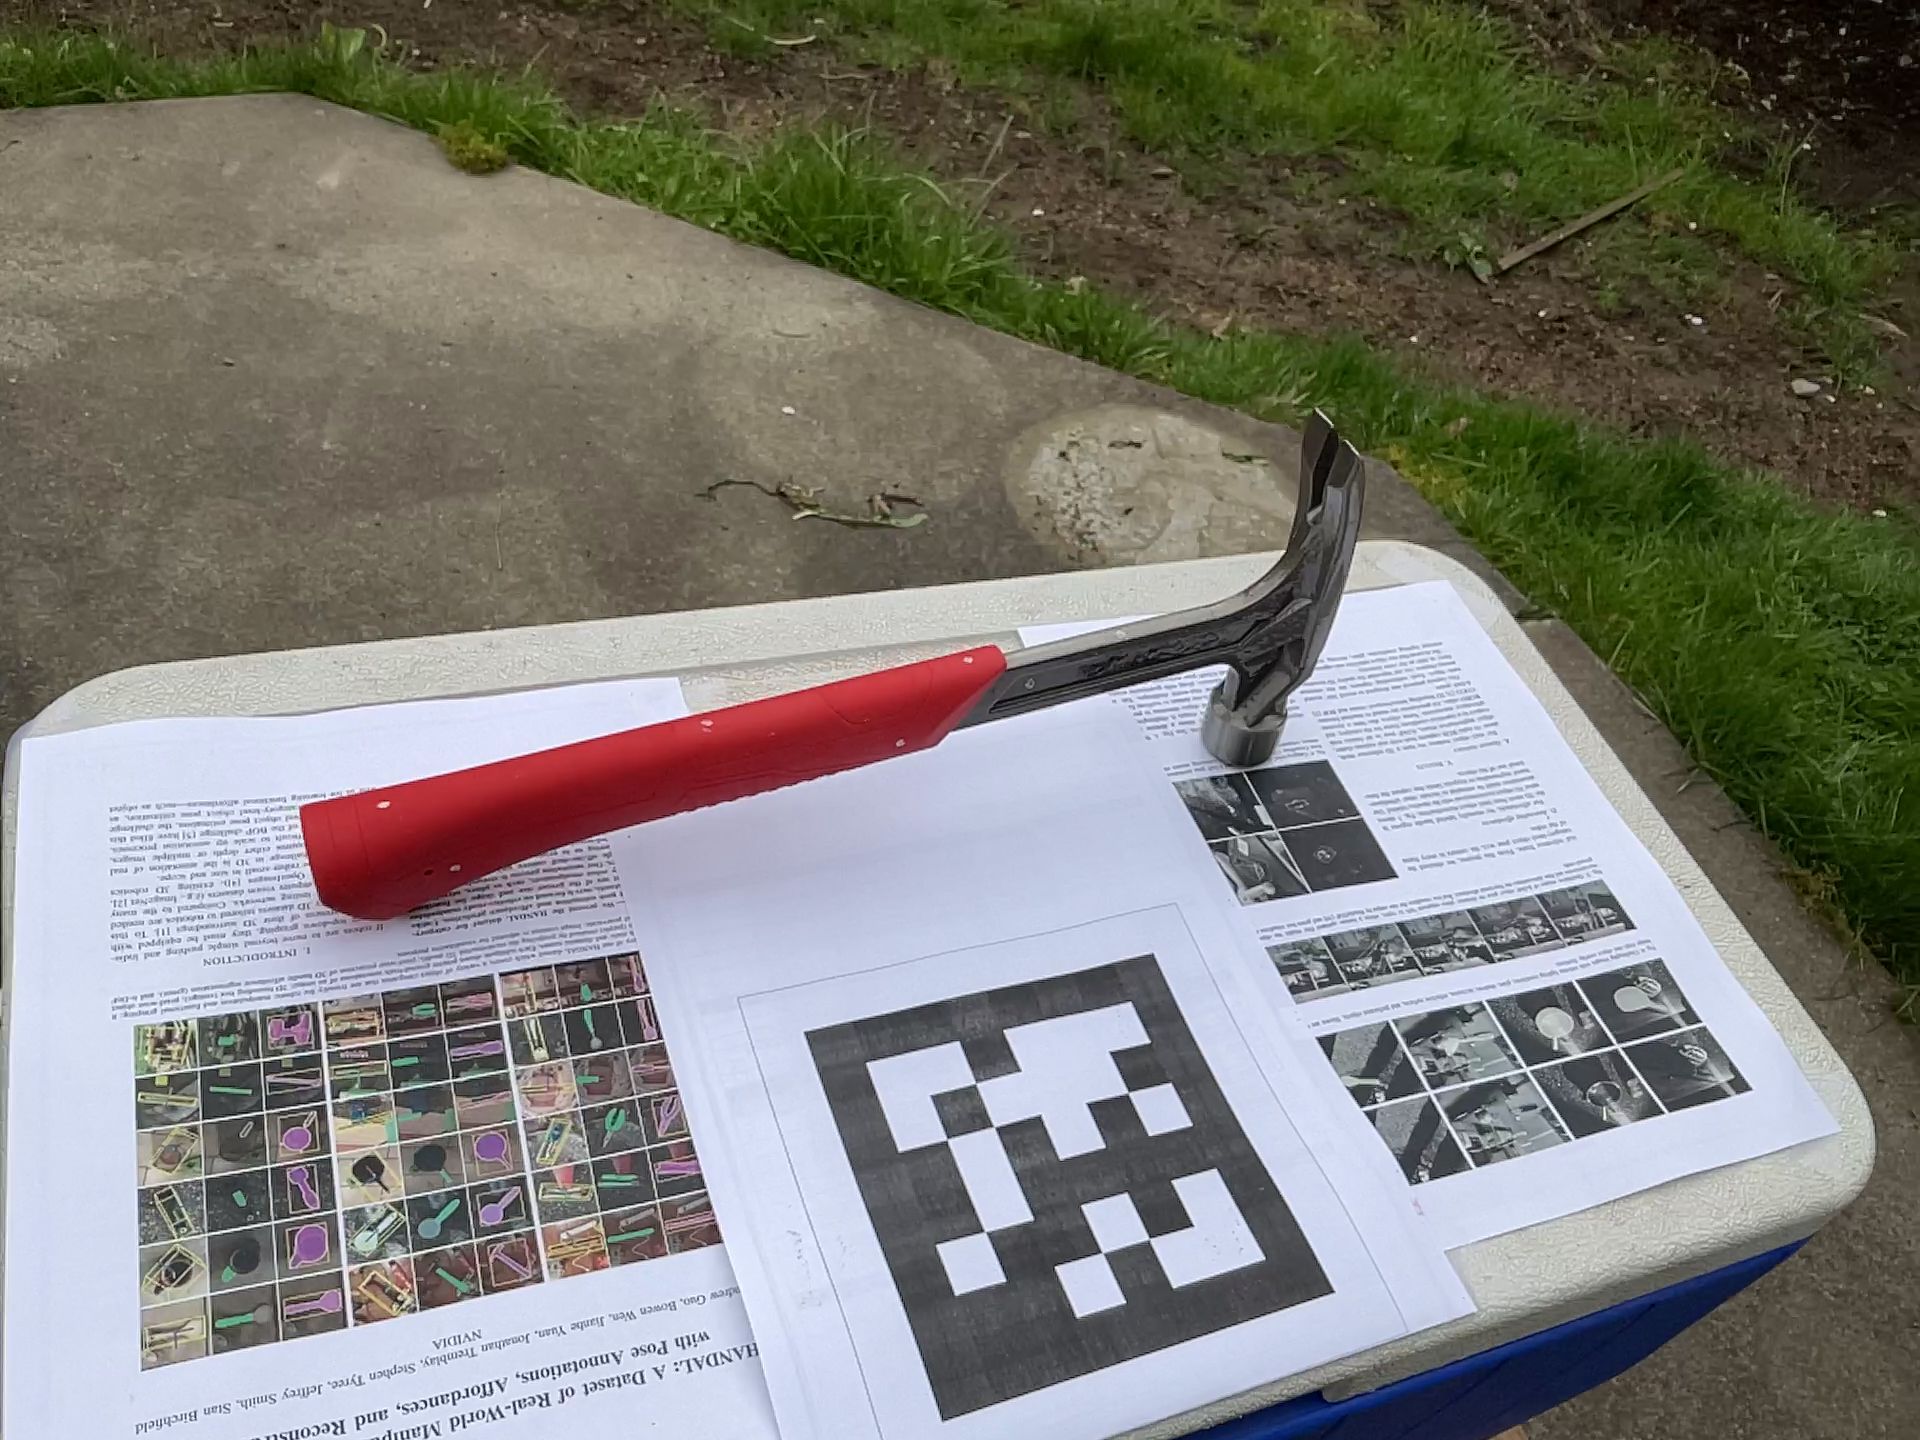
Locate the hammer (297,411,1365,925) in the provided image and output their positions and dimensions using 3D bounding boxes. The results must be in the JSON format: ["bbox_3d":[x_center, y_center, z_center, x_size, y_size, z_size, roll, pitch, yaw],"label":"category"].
[{"bbox_3d":[-0.032,-0.005,0.537,0.359,0.149,0.037,-14,48,-18],"label":"hammer"}]
